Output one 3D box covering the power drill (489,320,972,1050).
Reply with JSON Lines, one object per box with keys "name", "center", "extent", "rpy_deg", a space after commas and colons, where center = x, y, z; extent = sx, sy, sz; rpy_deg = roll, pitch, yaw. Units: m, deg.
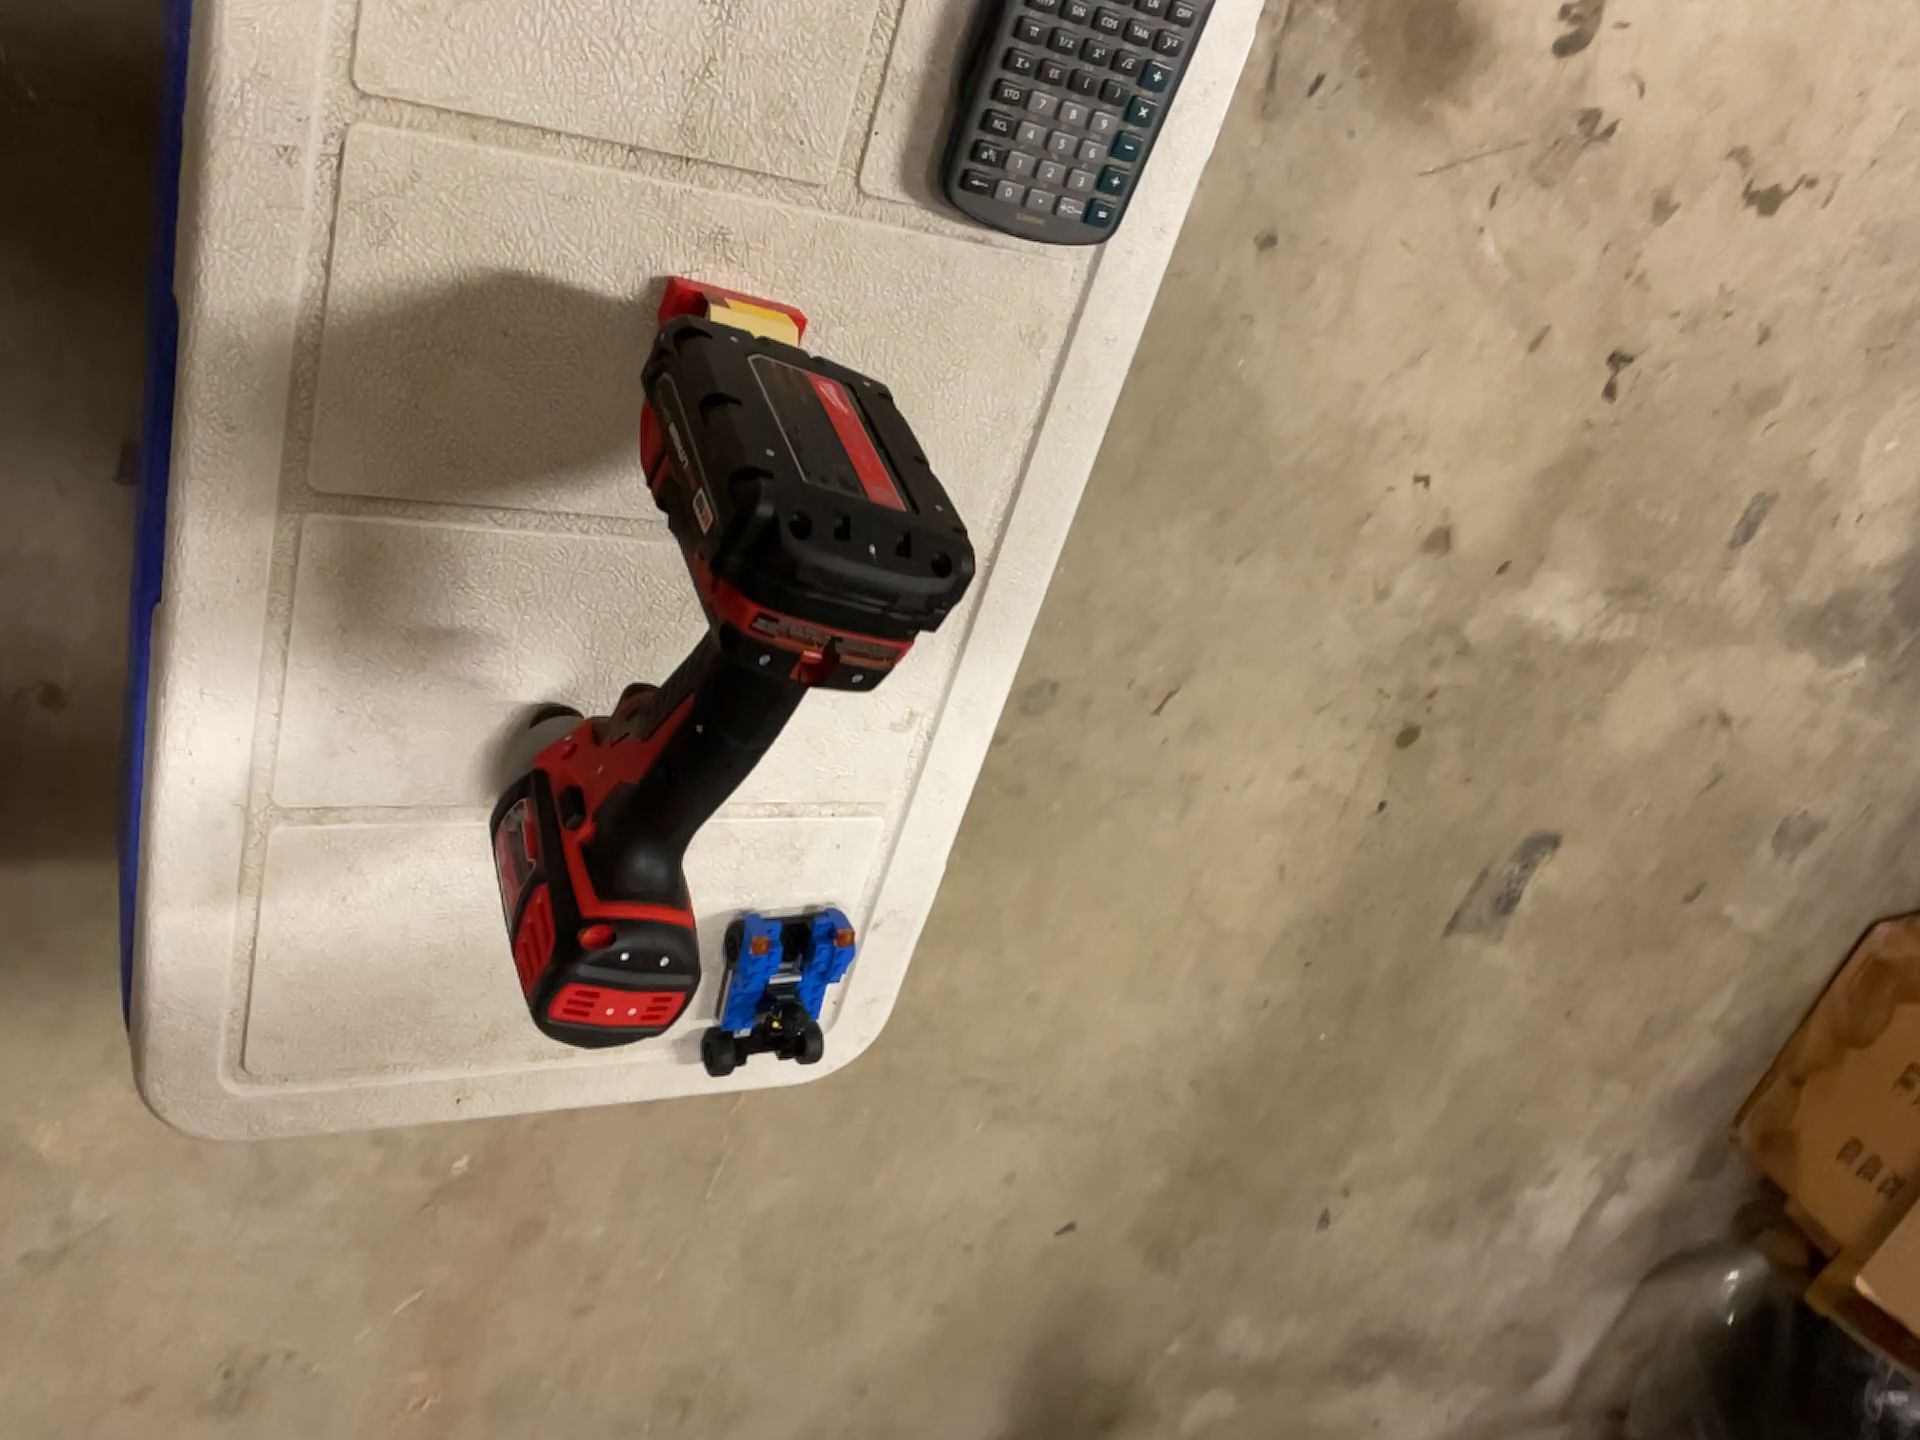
{"name": "power drill", "center": [-0.095, -0.011, 0.531], "extent": [0.078, 0.143, 0.219], "rpy_deg": [12, 125, -34]}
